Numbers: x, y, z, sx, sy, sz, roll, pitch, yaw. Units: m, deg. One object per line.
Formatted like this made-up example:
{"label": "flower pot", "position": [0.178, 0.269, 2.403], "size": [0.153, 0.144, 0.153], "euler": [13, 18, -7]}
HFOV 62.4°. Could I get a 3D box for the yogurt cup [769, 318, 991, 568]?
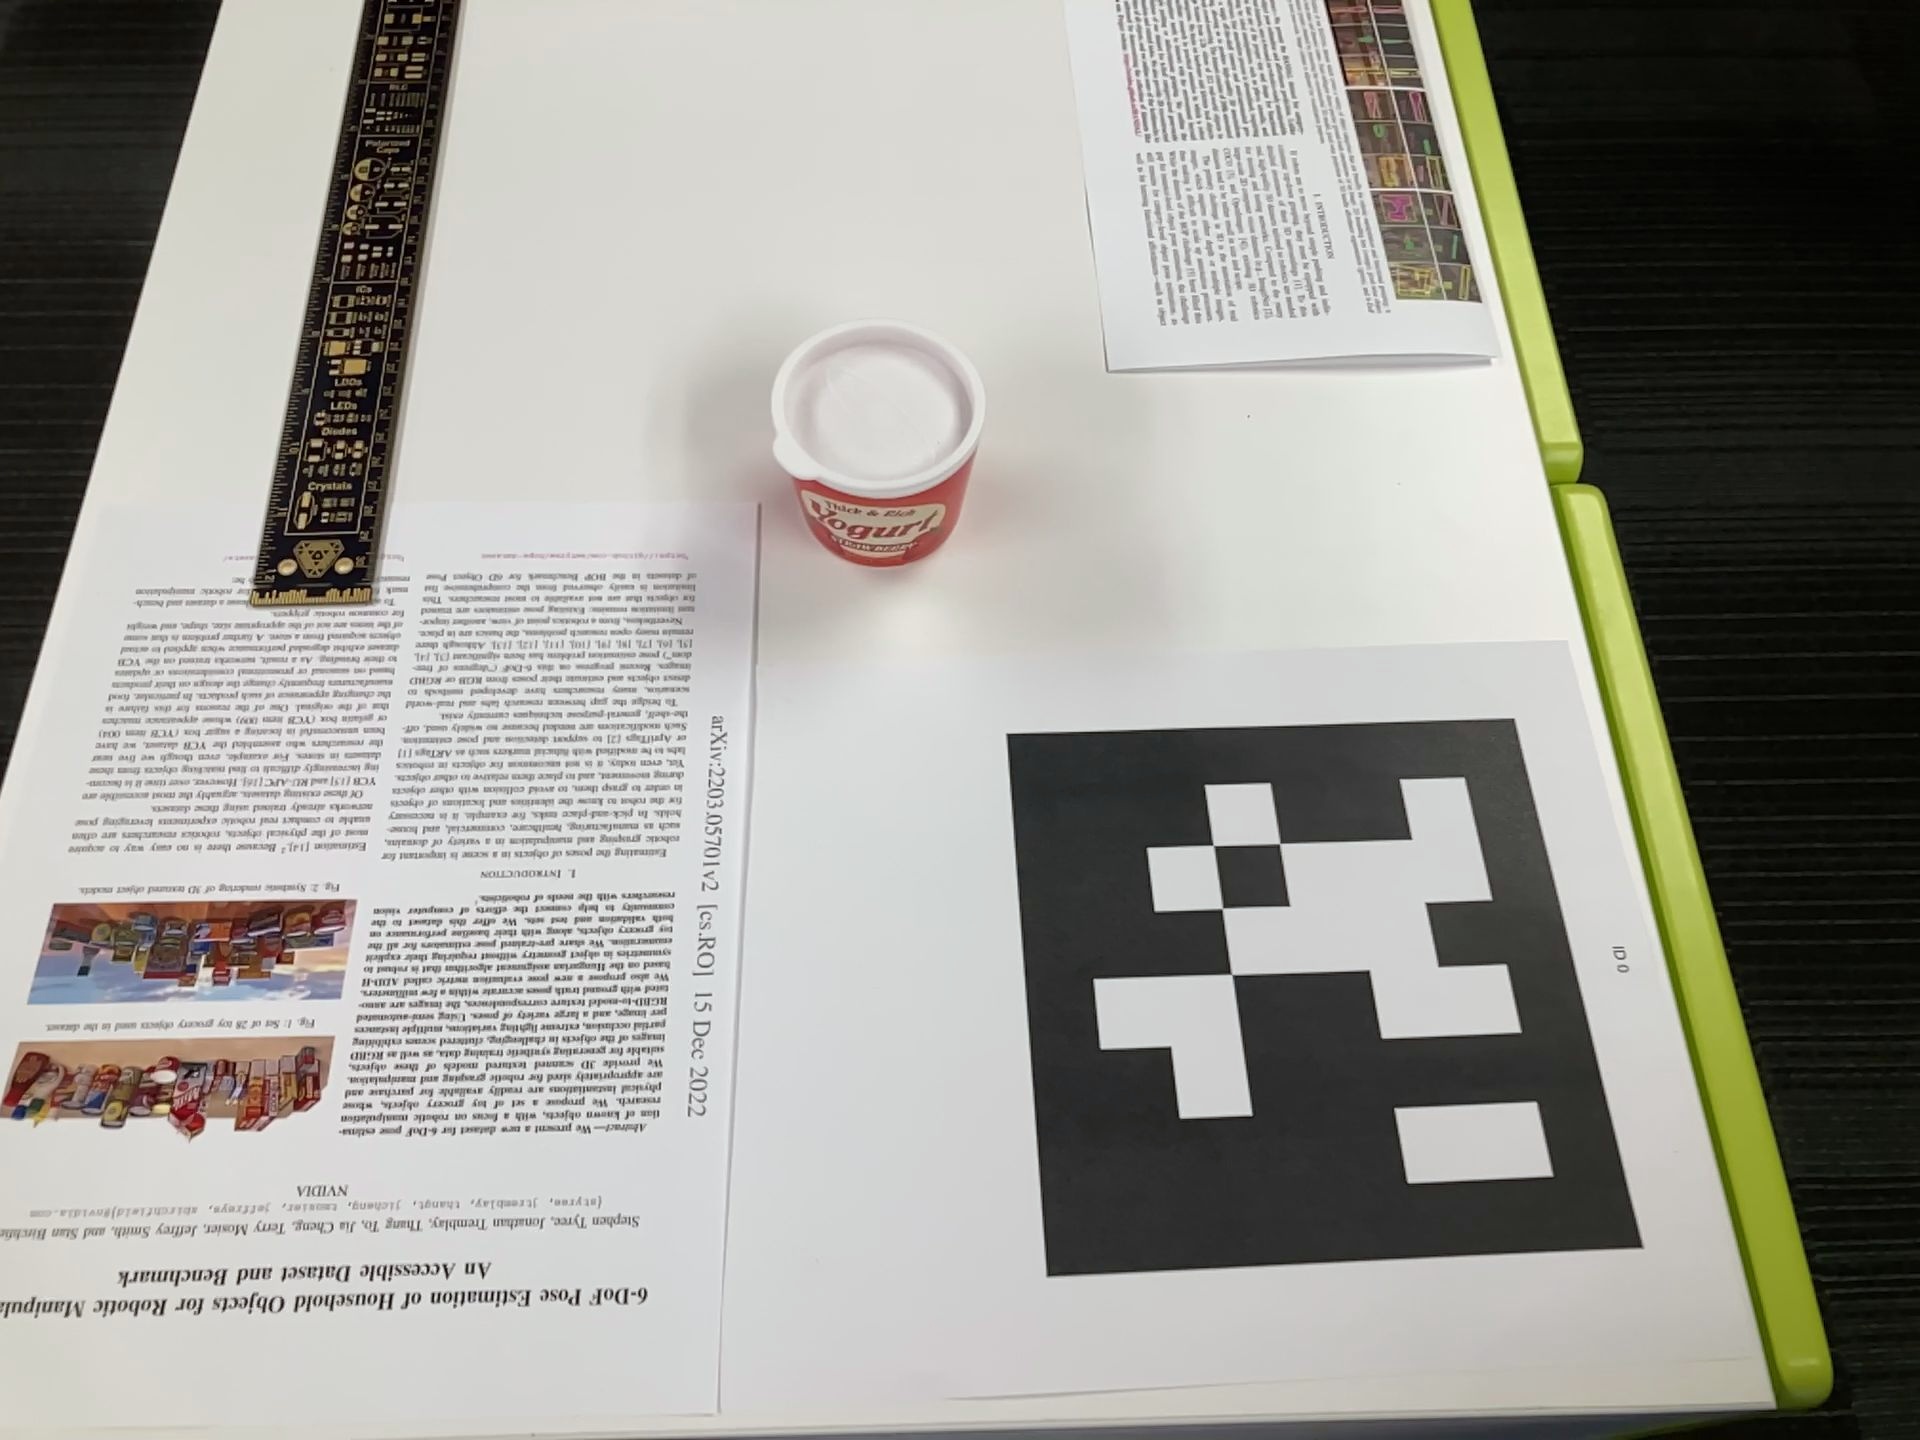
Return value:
{"label": "yogurt cup", "position": [-0.026, -0.086, 0.508], "size": [0.072, 0.054, 0.072], "euler": [1, 62, -2]}
